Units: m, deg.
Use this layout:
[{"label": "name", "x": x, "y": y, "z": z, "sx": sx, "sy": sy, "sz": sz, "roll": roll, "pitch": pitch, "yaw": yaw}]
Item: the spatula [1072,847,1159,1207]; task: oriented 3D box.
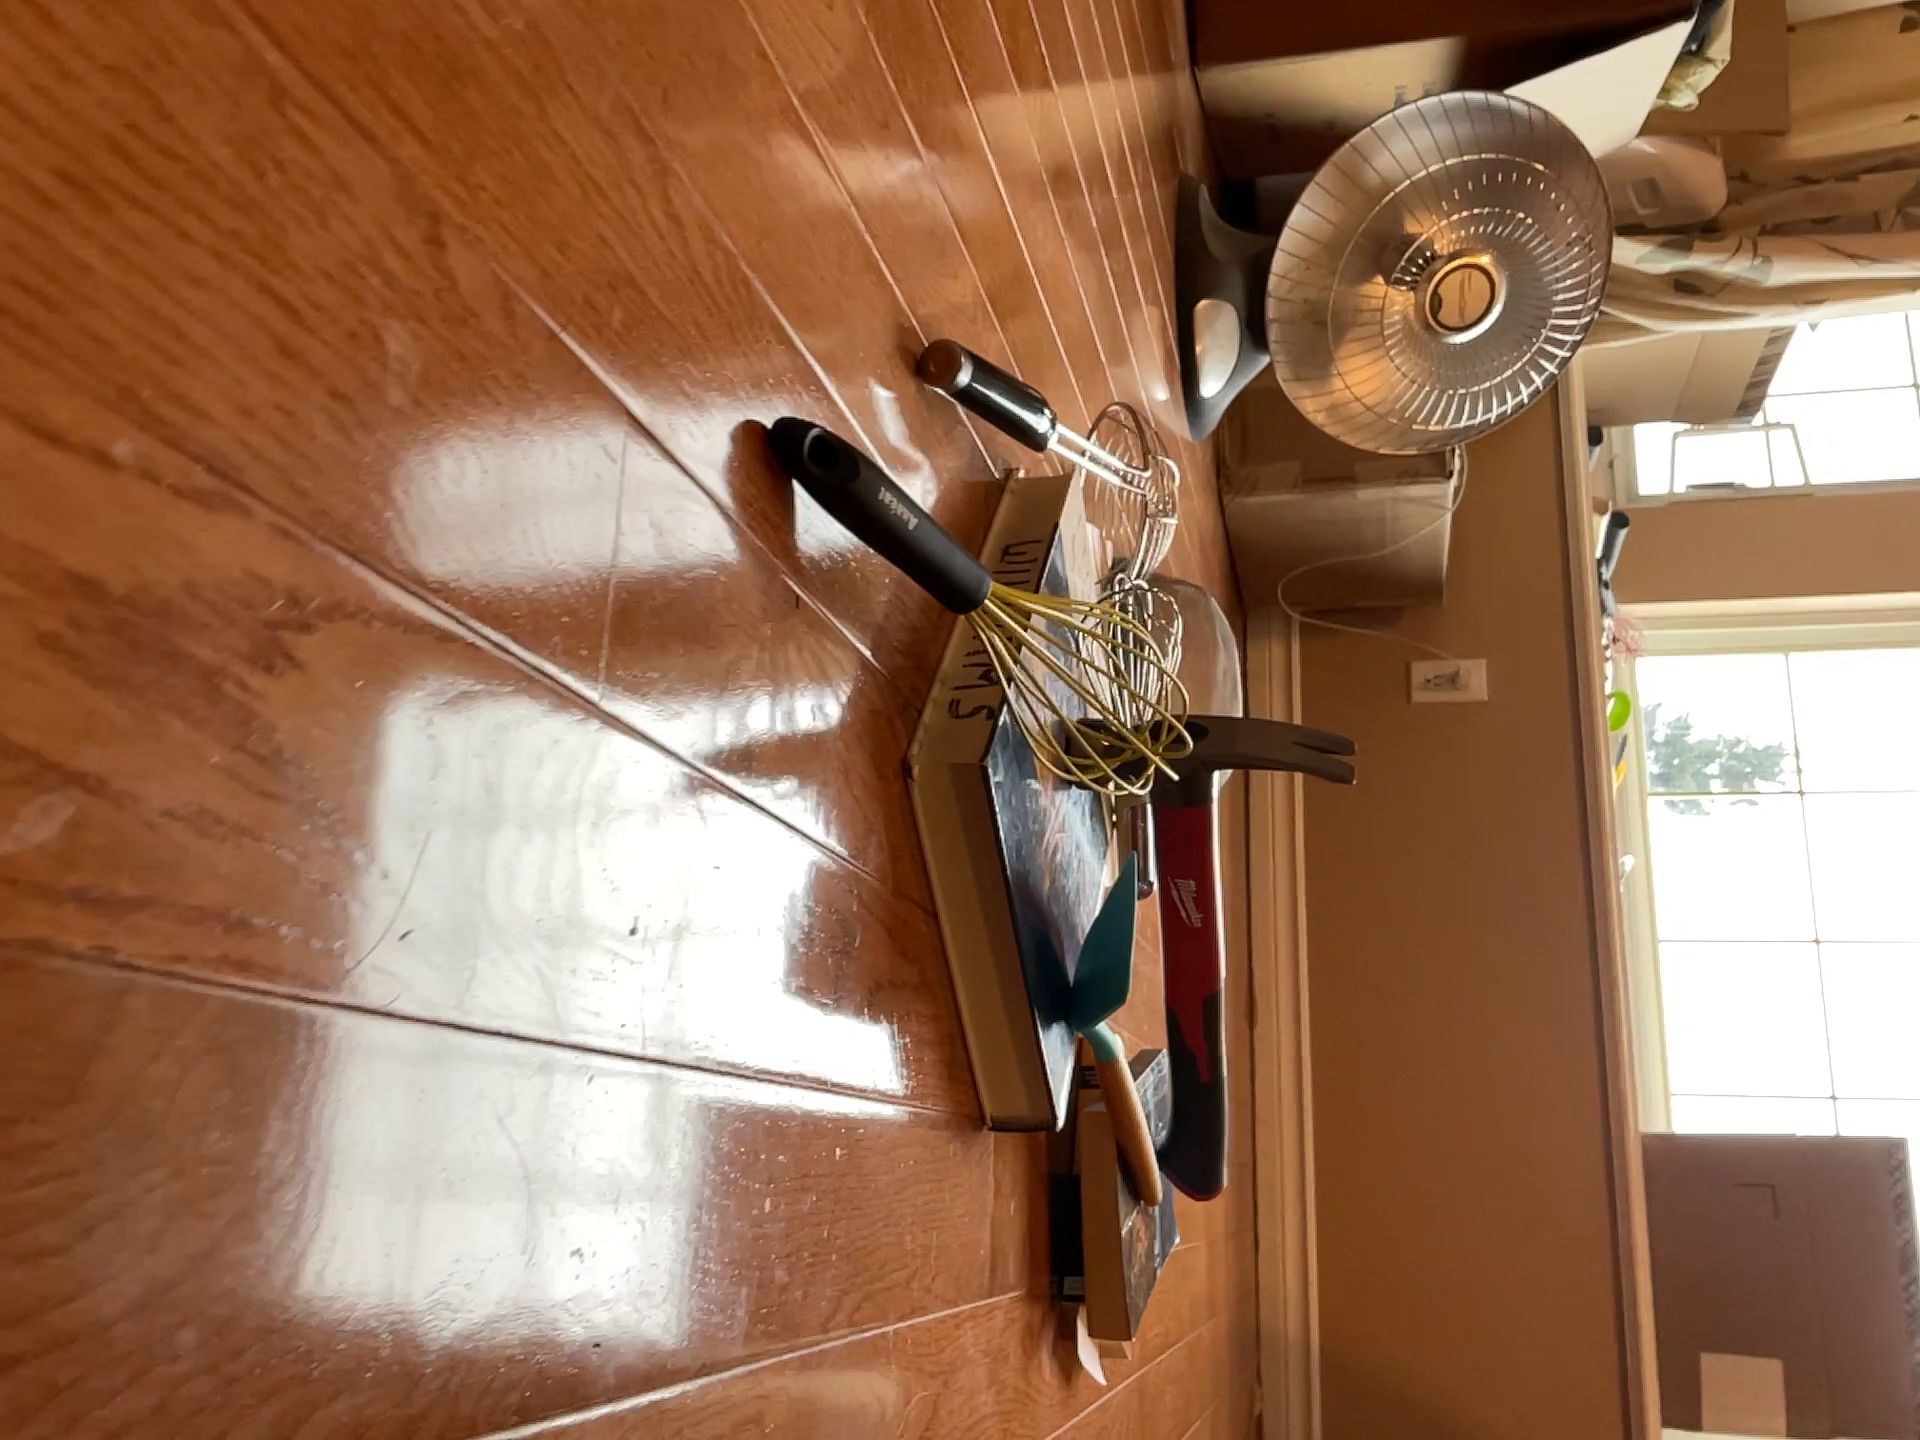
[{"label": "spatula", "x": 0.092, "y": 0.189, "z": 0.846, "sx": 0.317, "sy": 0.044, "sz": 0.083, "roll": 72, "pitch": 19, "yaw": -48}]

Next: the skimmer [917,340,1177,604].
[{"label": "skimmer", "x": 0.040, "y": -0.141, "z": 0.868, "sx": 0.363, "sy": 0.090, "sz": 0.127, "roll": 9, "pitch": 81, "yaw": -65}]

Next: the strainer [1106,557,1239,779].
[{"label": "strainer", "x": 0.154, "y": -0.010, "z": 1.134, "sx": 0.340, "sy": 0.095, "sz": 0.211, "roll": -48, "pitch": 135, "yaw": -80}]

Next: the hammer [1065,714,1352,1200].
[{"label": "hammer", "x": 0.149, "y": 0.154, "z": 0.918, "sx": 0.038, "sy": 0.143, "sz": 0.386, "roll": -71, "pitch": 158, "yaw": -47}]

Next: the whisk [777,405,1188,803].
[{"label": "whisk", "x": 0.016, "y": -0.041, "z": 0.630, "sx": 0.311, "sy": 0.067, "sz": 0.080, "roll": 37, "pitch": 66, "yaw": -54}]

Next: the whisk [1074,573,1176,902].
[{"label": "whisk", "x": 0.098, "y": 0.019, "z": 0.910, "sx": 0.059, "sy": 0.058, "sz": 0.246, "roll": -122, "pitch": -162, "yaw": -46}]
